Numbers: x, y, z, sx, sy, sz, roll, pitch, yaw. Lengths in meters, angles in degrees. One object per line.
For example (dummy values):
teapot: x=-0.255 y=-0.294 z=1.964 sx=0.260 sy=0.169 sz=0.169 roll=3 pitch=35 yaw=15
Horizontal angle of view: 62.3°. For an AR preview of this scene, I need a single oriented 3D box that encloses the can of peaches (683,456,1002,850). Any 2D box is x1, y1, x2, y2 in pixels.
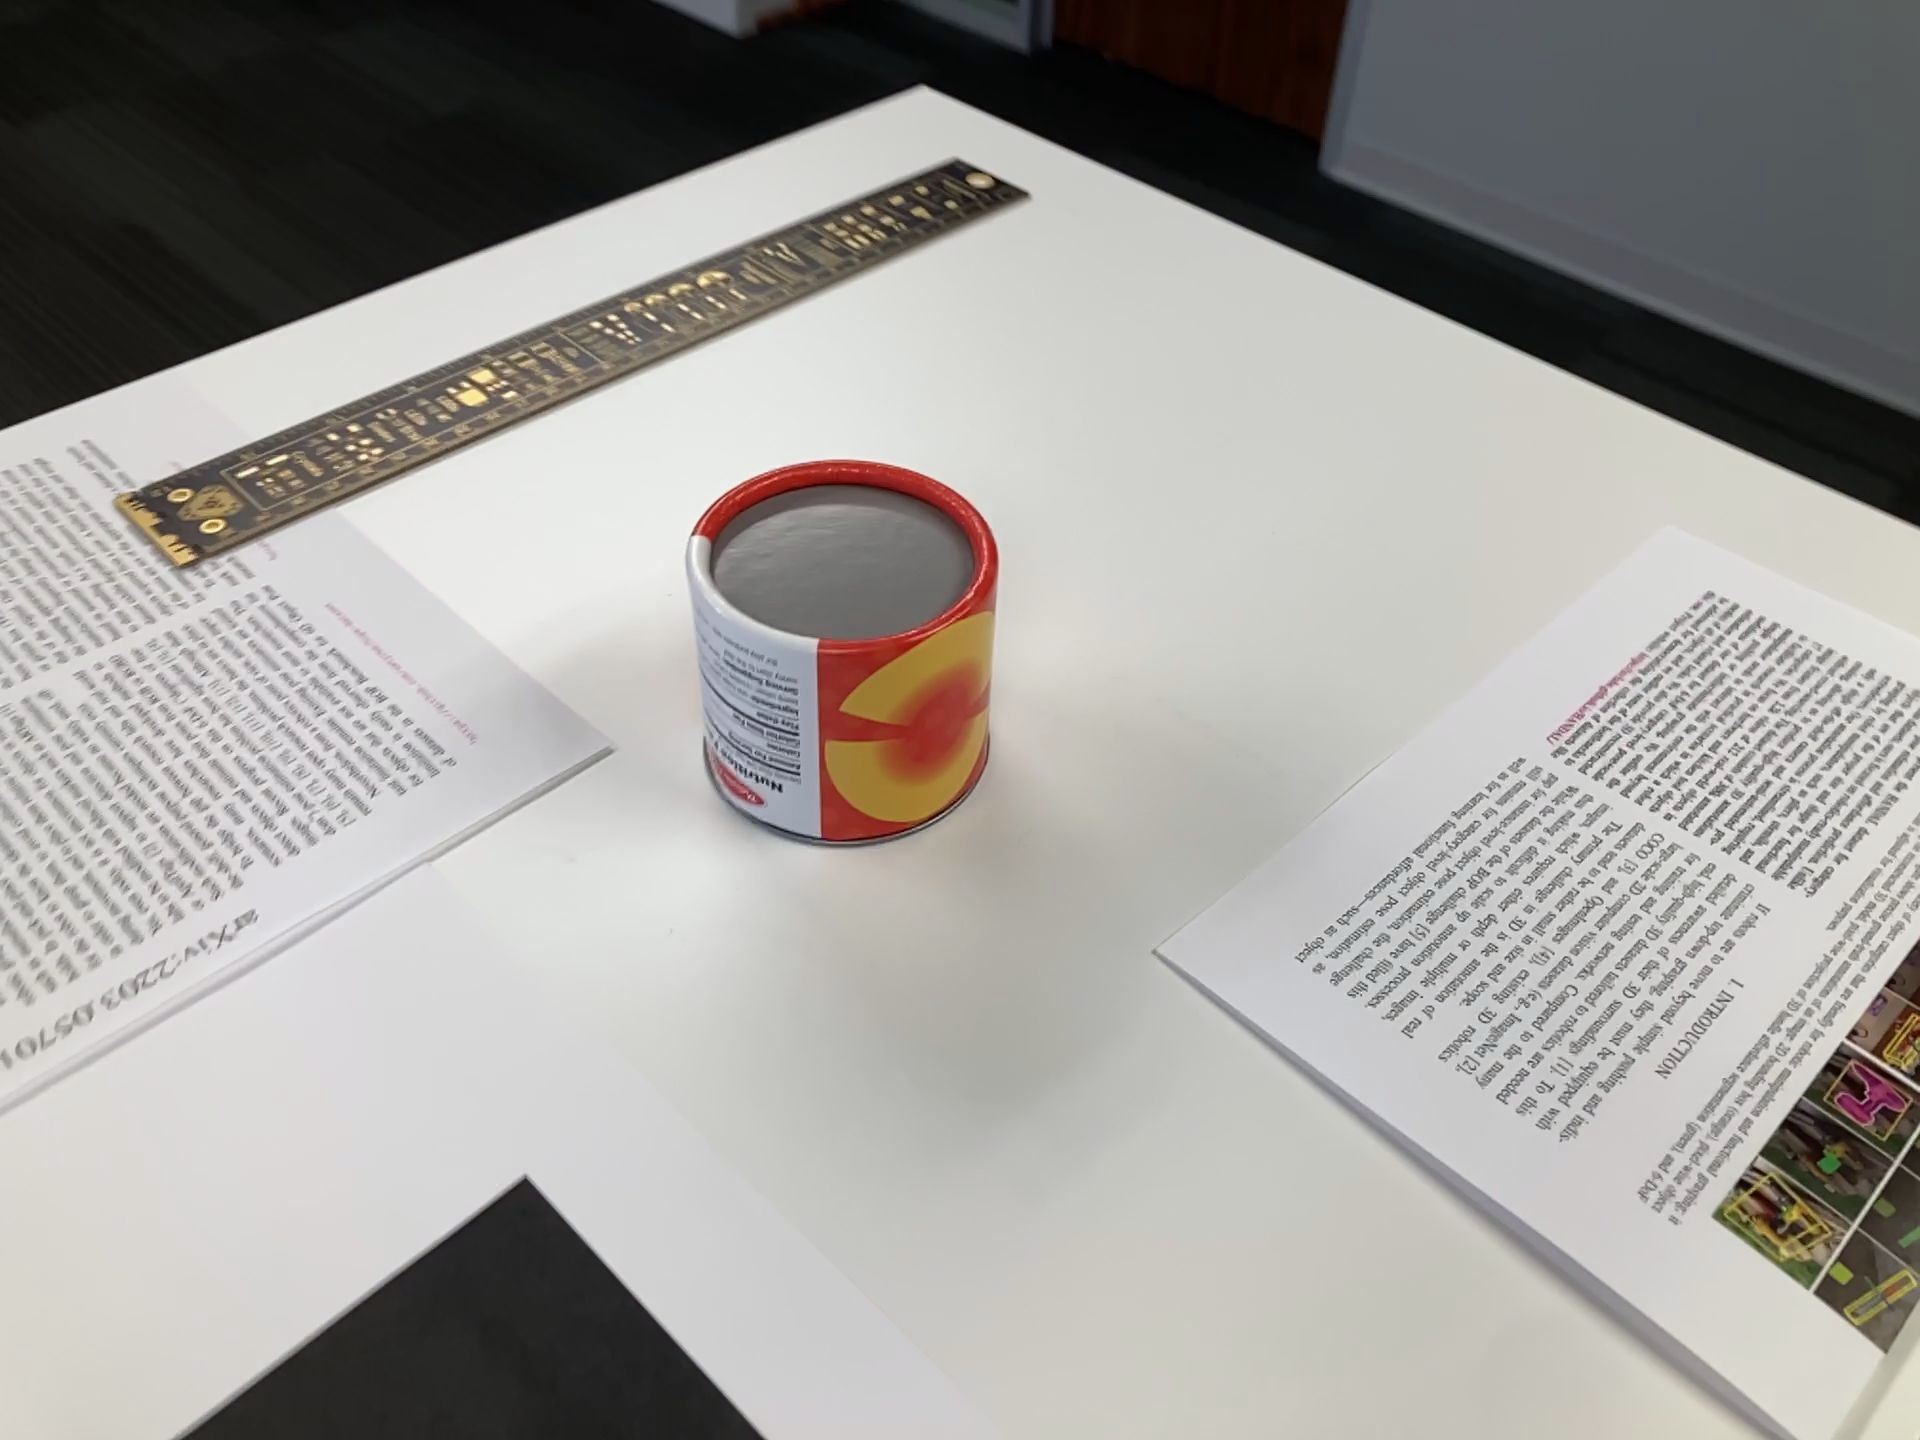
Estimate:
can of peaches: x=-0.023 y=-0.017 z=0.346 sx=0.071 sy=0.058 sz=0.071 roll=1 pitch=44 yaw=-1
